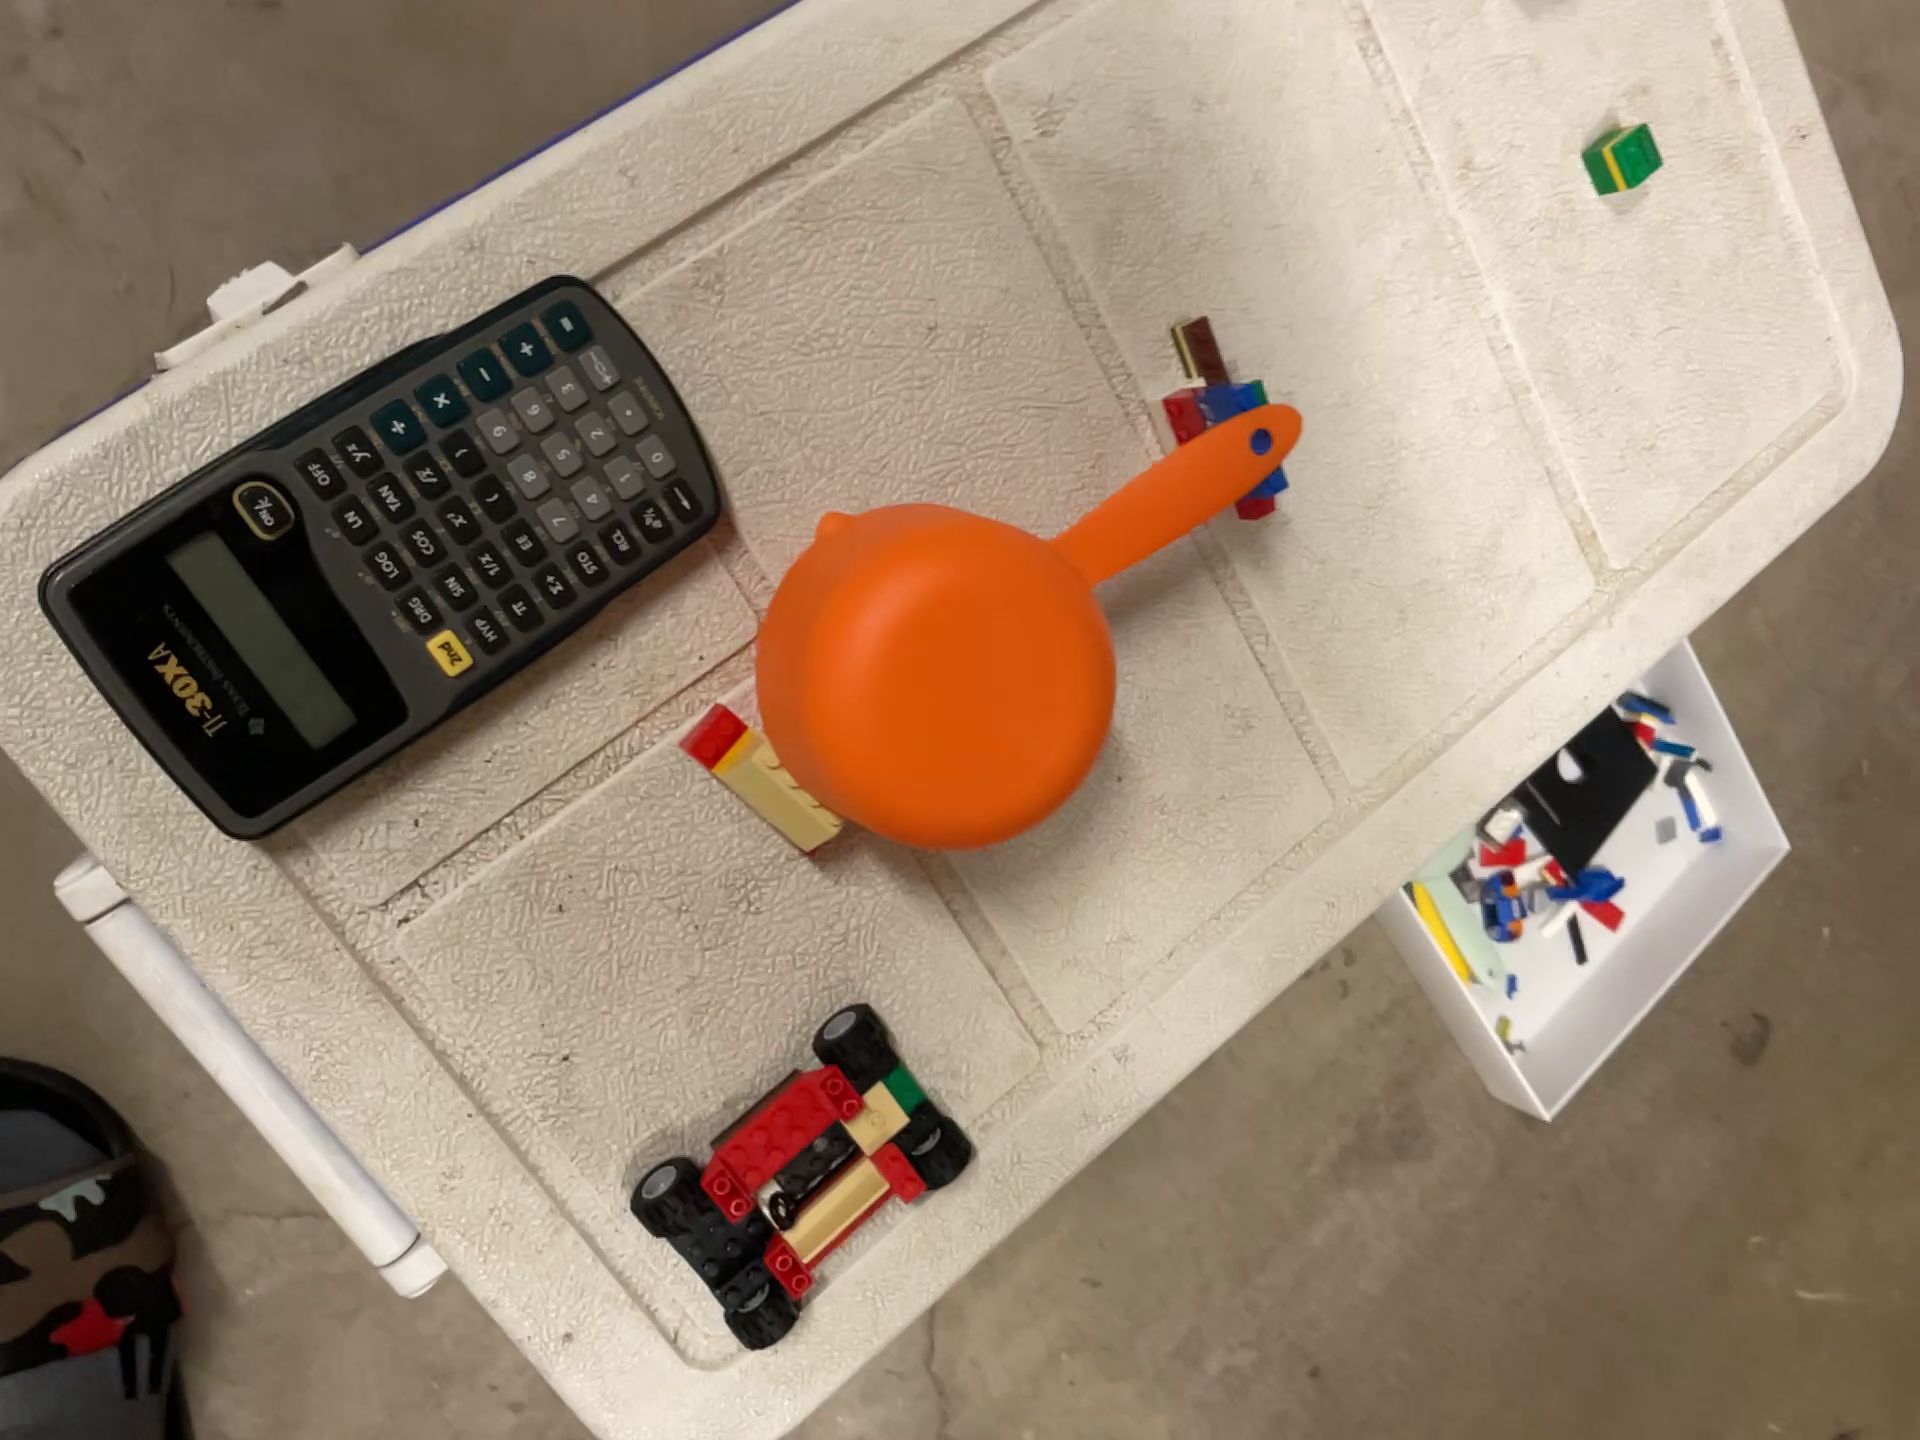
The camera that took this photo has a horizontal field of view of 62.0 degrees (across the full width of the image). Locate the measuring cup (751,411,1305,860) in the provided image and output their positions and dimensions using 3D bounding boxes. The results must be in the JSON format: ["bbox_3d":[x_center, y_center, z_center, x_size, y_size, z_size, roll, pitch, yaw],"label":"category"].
[{"bbox_3d":[0.031,-0.032,0.407,0.173,0.052,0.095,-33,110,-10],"label":"measuring cup"}]
